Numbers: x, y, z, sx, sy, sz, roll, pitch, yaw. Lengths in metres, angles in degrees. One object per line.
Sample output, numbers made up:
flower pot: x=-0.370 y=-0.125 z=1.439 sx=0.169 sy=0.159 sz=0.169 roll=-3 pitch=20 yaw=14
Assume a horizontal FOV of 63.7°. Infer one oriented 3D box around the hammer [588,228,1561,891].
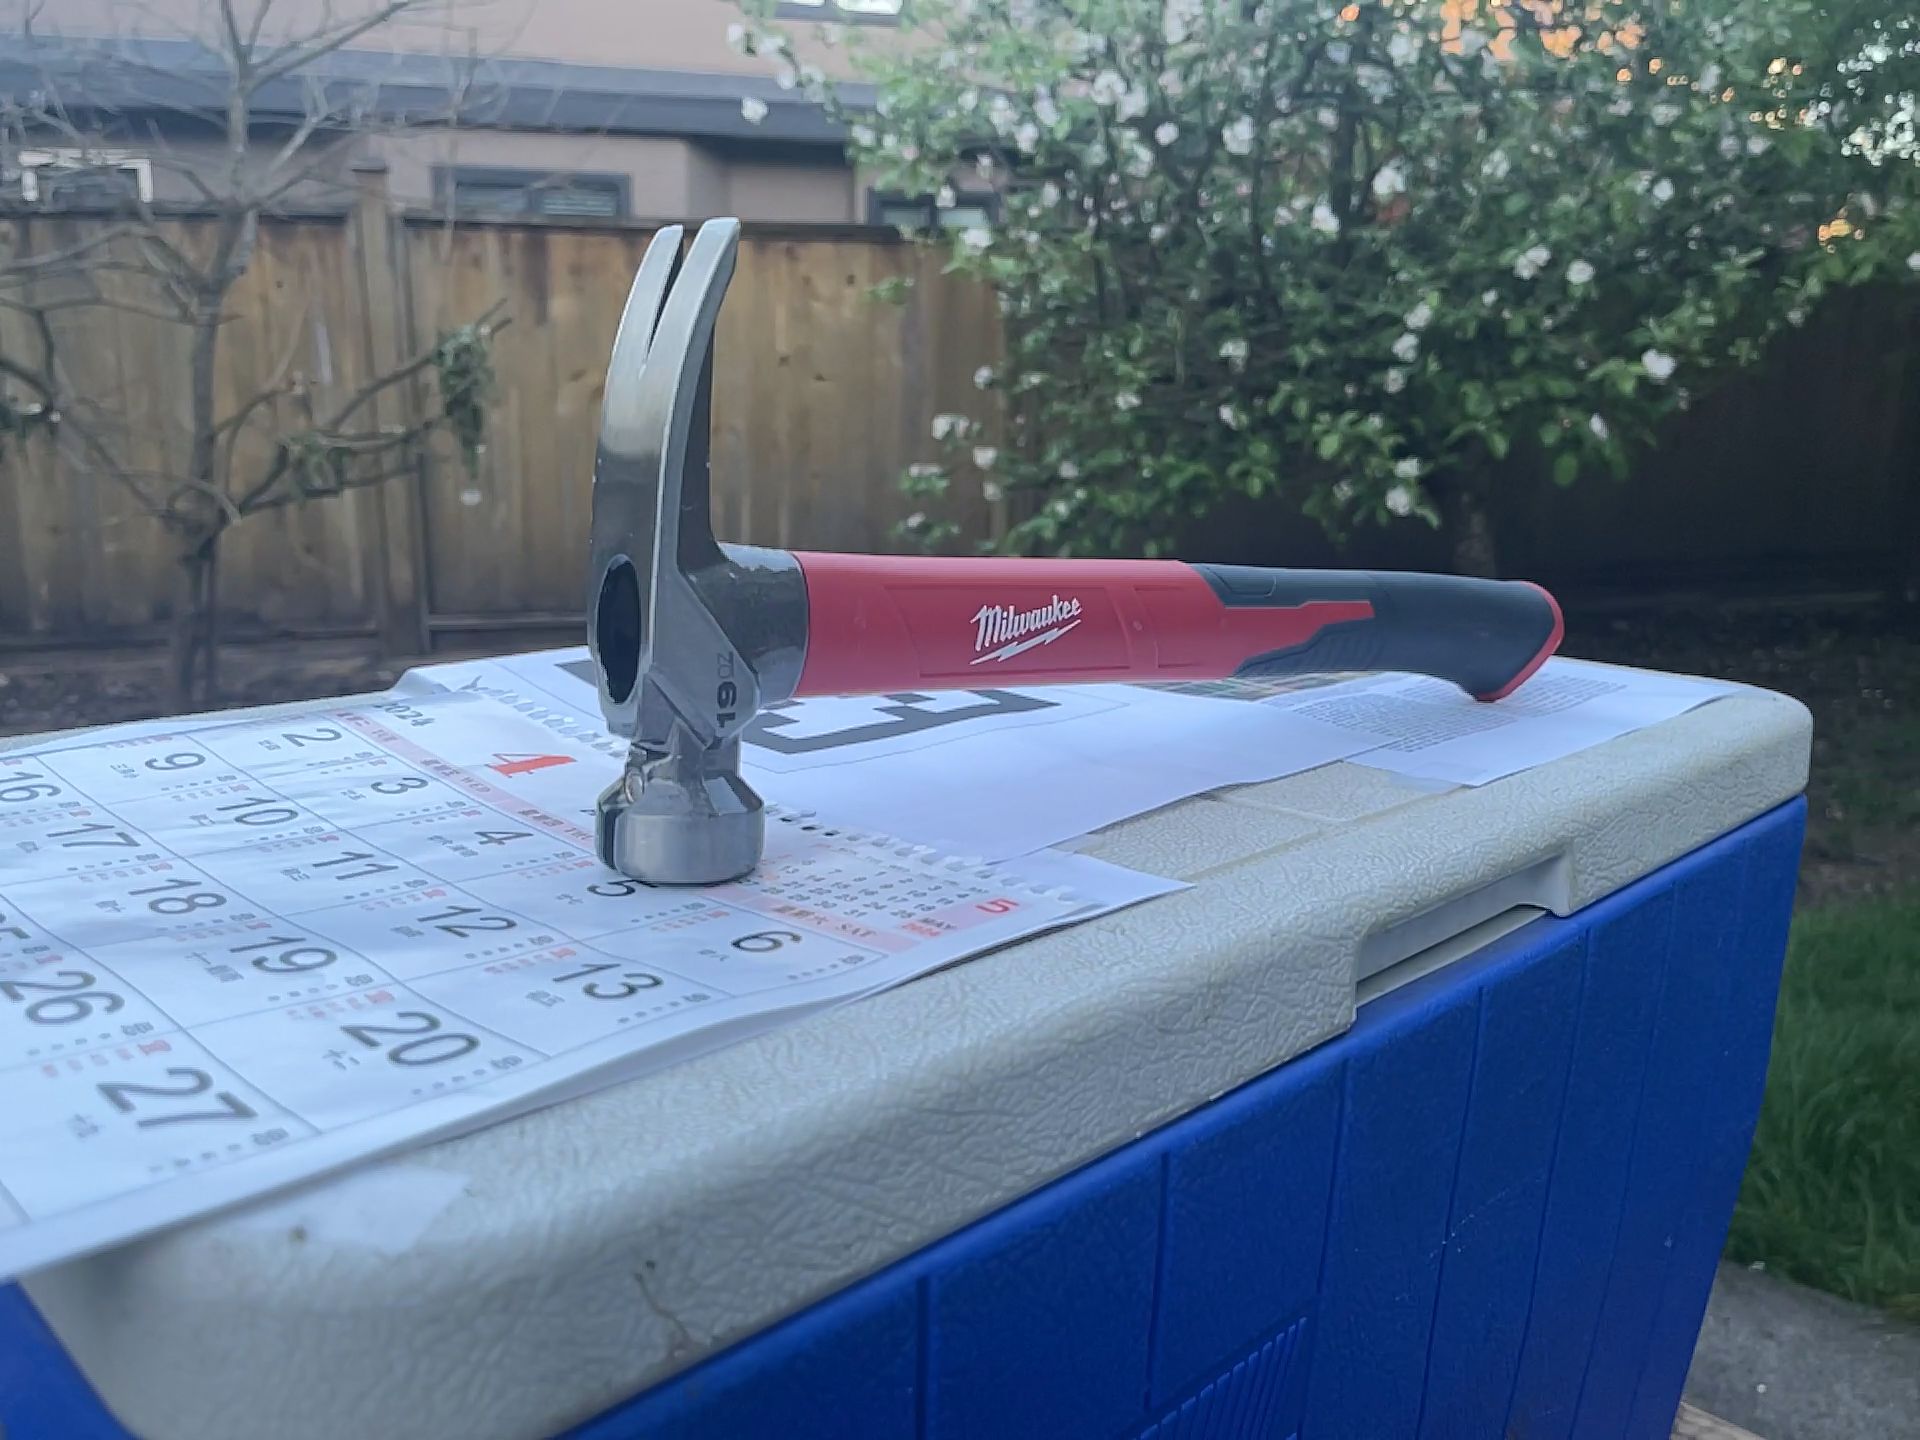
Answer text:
hammer: x=0.071 y=-0.043 z=0.460 sx=0.386 sy=0.143 sz=0.038 roll=-4 pitch=12 yaw=-42
